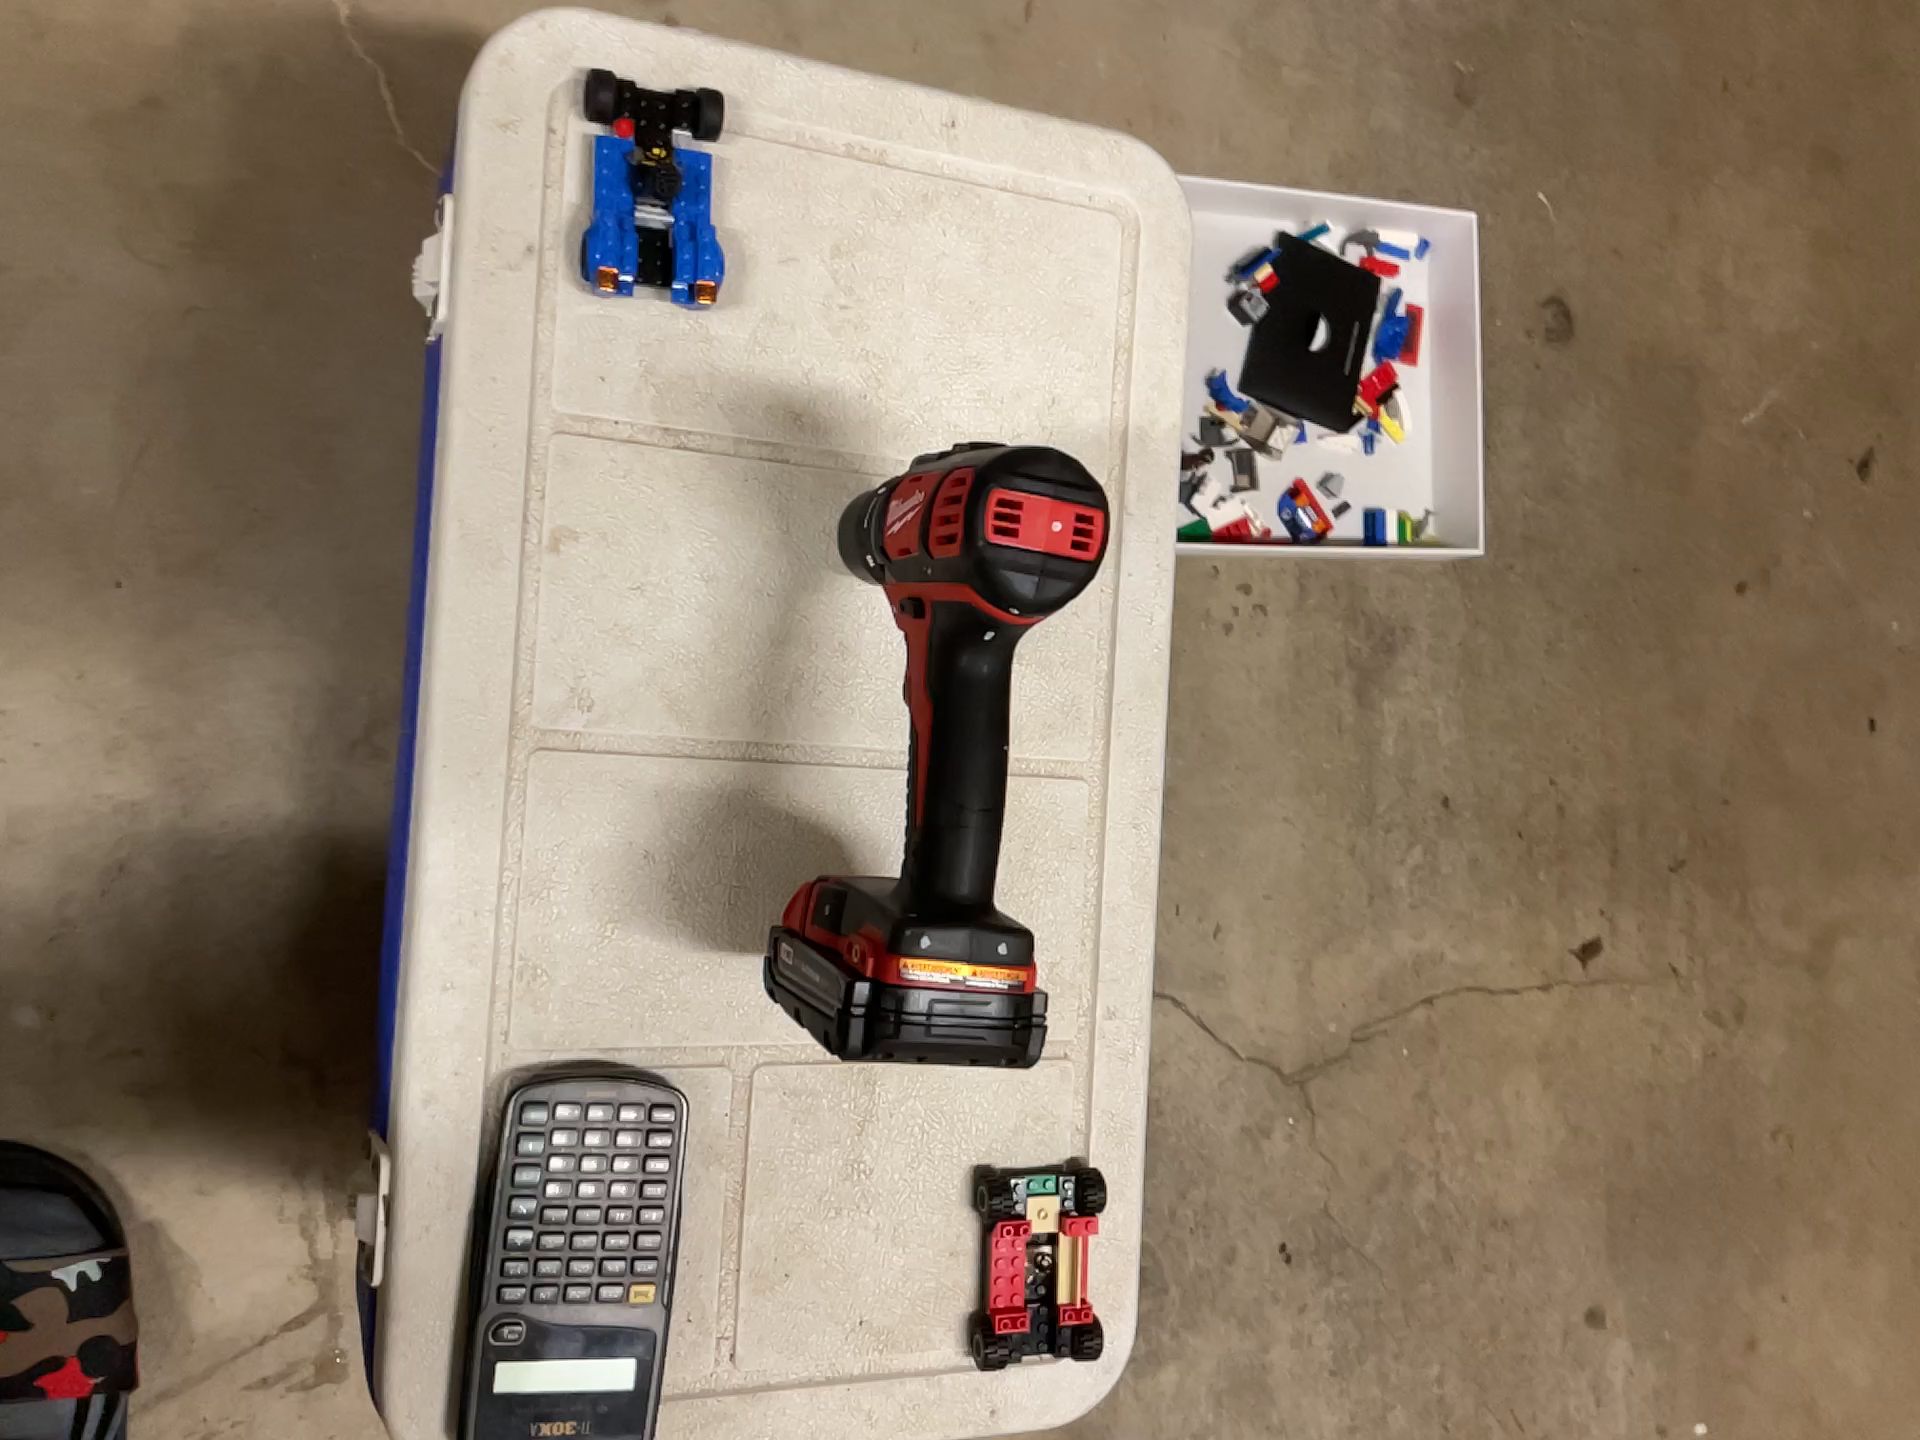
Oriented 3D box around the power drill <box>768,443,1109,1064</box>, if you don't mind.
[{"bbox_3d":[-0.016,0.005,0.632,0.080,0.188,0.226,8,92,-21],"label":"power drill"}]
